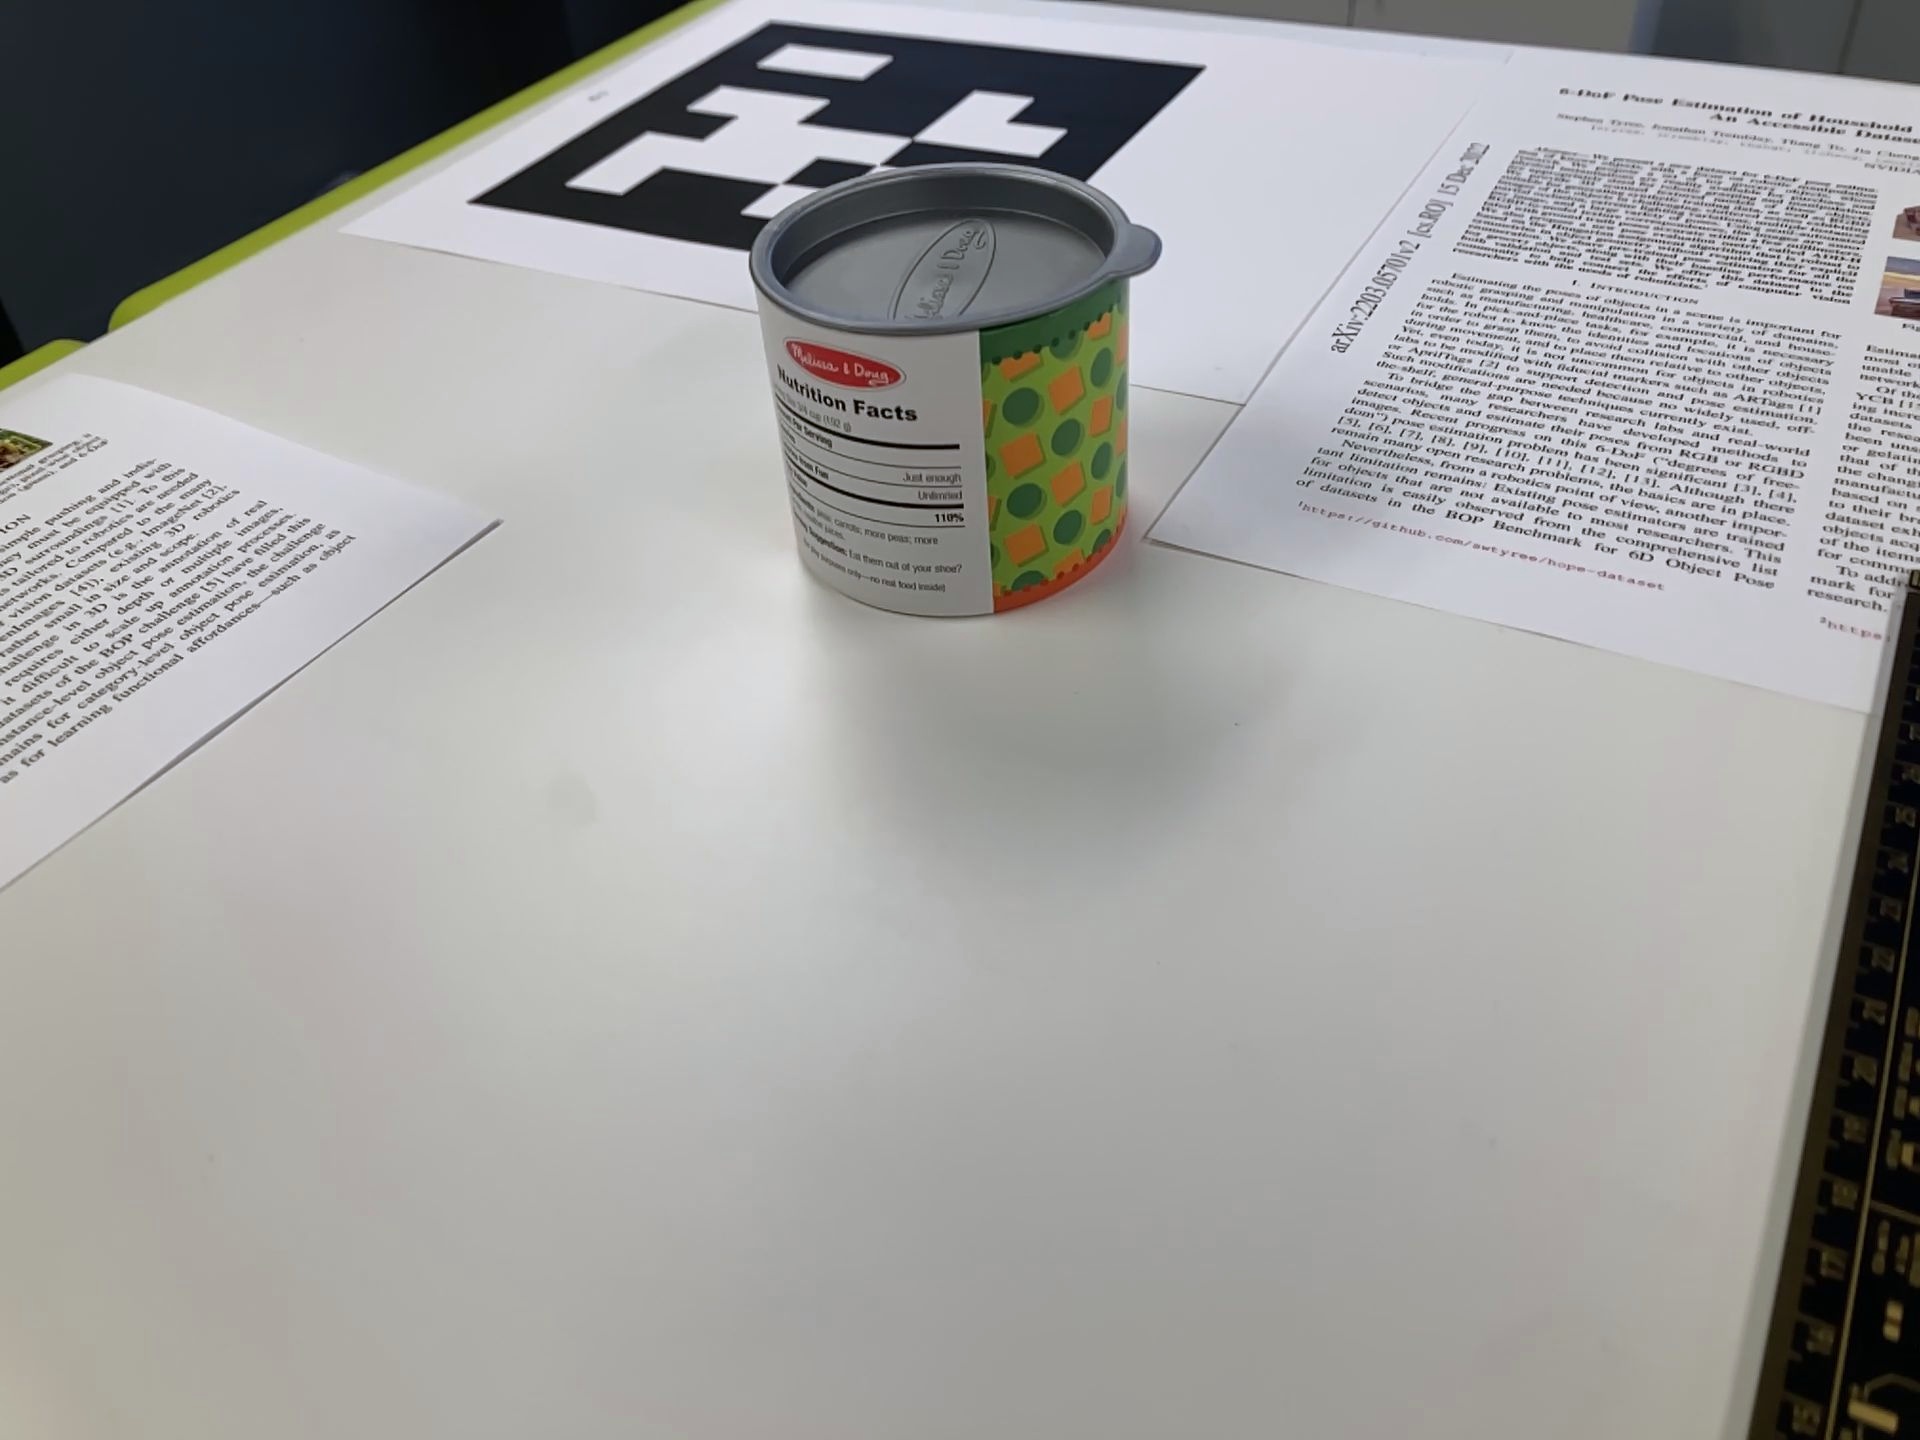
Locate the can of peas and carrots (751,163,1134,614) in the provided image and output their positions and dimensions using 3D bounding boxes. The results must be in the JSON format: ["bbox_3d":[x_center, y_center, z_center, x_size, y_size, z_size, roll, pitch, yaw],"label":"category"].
[{"bbox_3d":[0.000,-0.063,0.294,0.071,0.059,0.071,-3,41,3],"label":"can of peas and carrots"}]
